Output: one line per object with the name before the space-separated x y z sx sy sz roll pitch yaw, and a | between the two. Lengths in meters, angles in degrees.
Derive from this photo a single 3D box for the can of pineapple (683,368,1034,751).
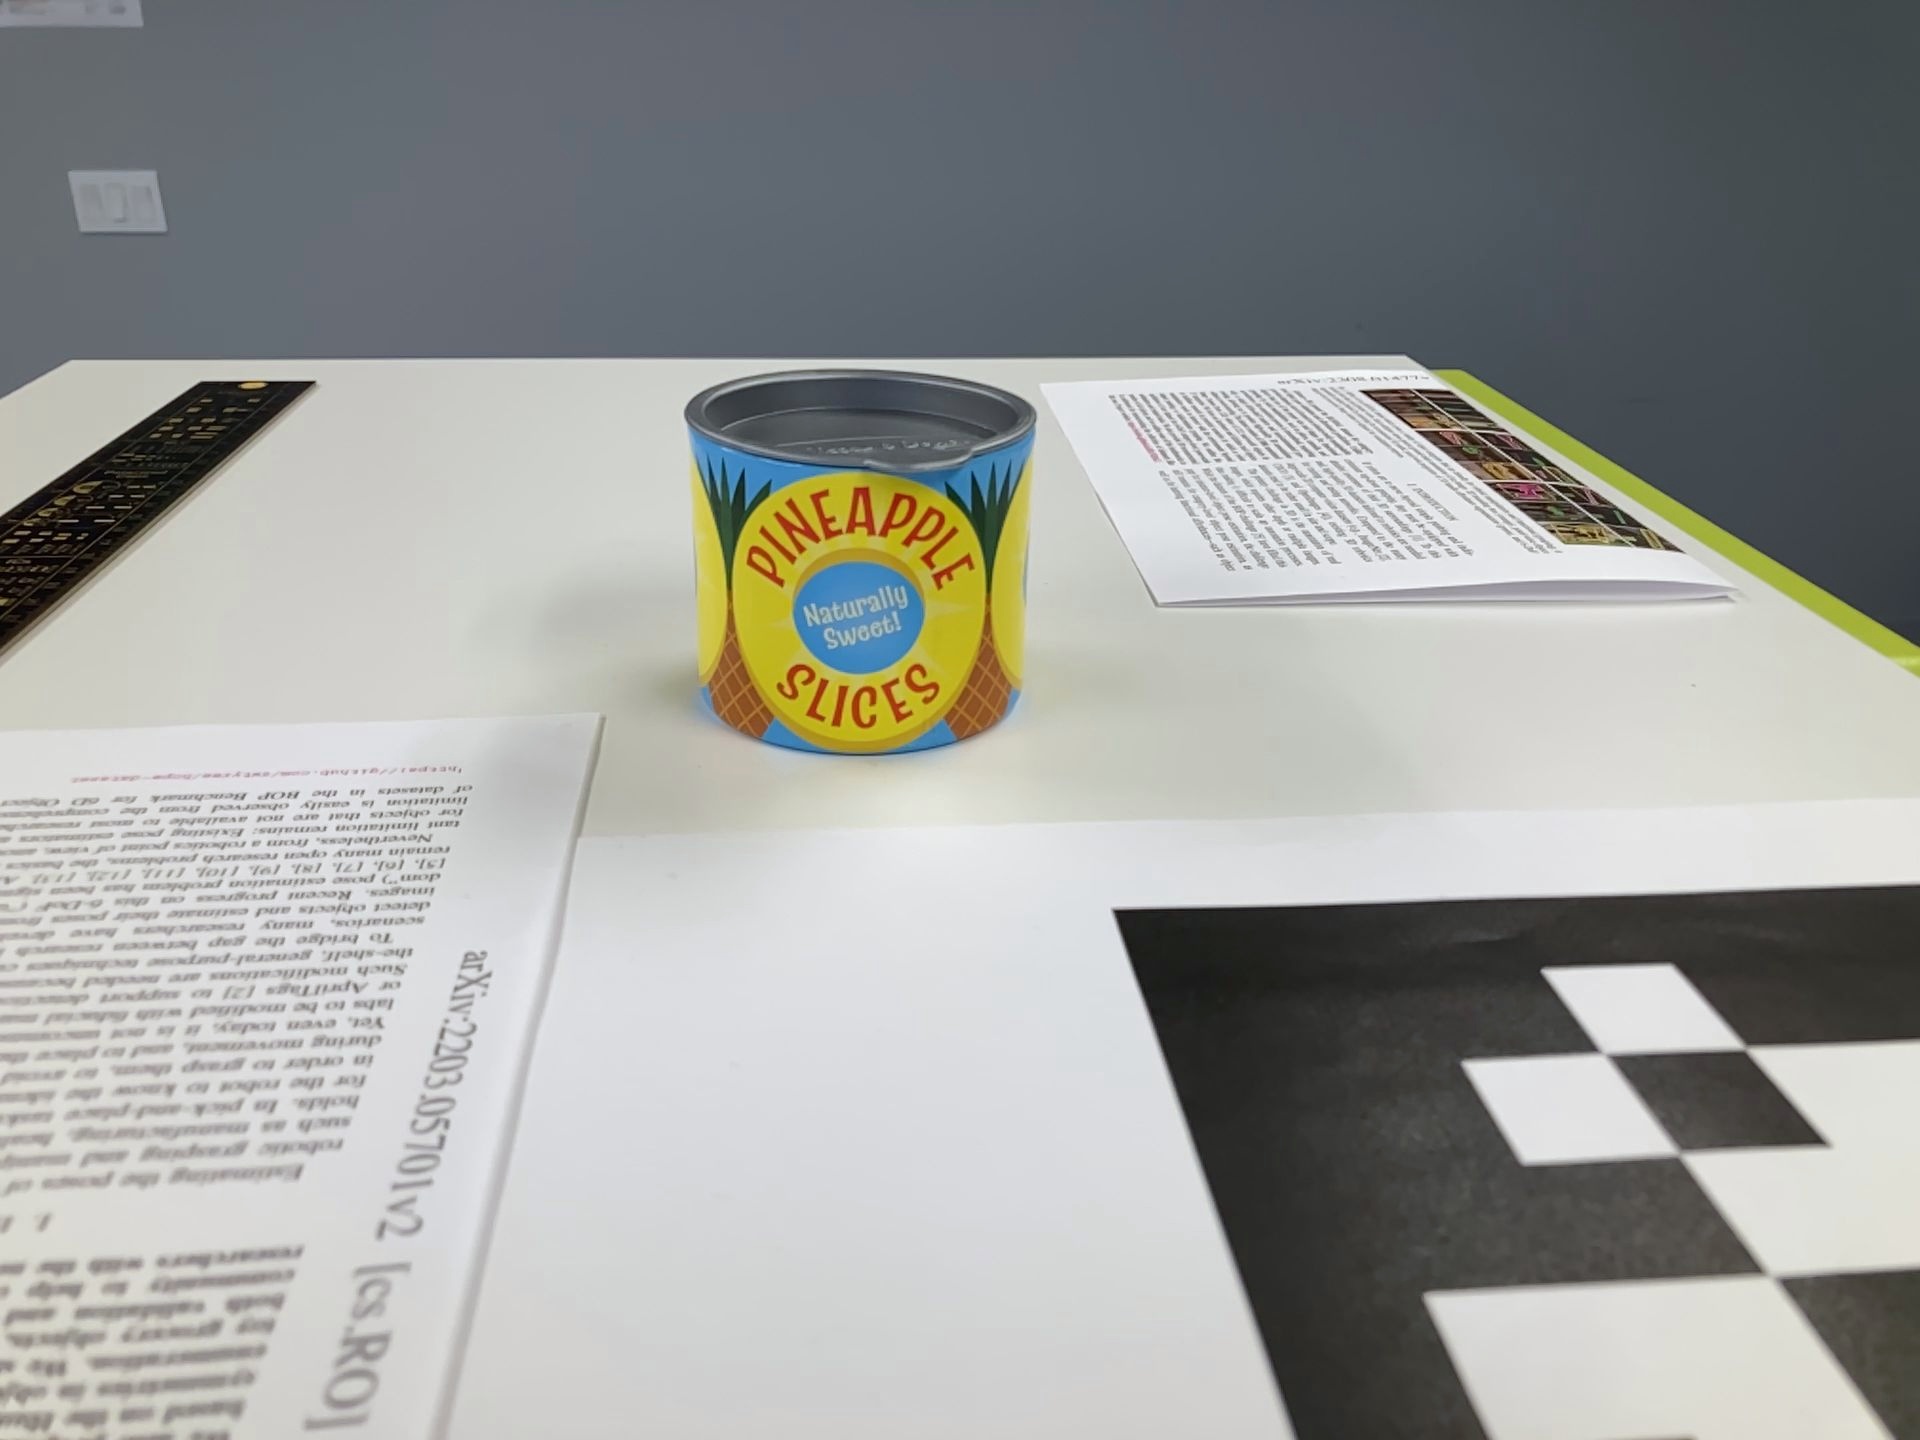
can of pineapple | -0.019 -0.032 0.309 0.071 0.058 0.071 0 25 0
